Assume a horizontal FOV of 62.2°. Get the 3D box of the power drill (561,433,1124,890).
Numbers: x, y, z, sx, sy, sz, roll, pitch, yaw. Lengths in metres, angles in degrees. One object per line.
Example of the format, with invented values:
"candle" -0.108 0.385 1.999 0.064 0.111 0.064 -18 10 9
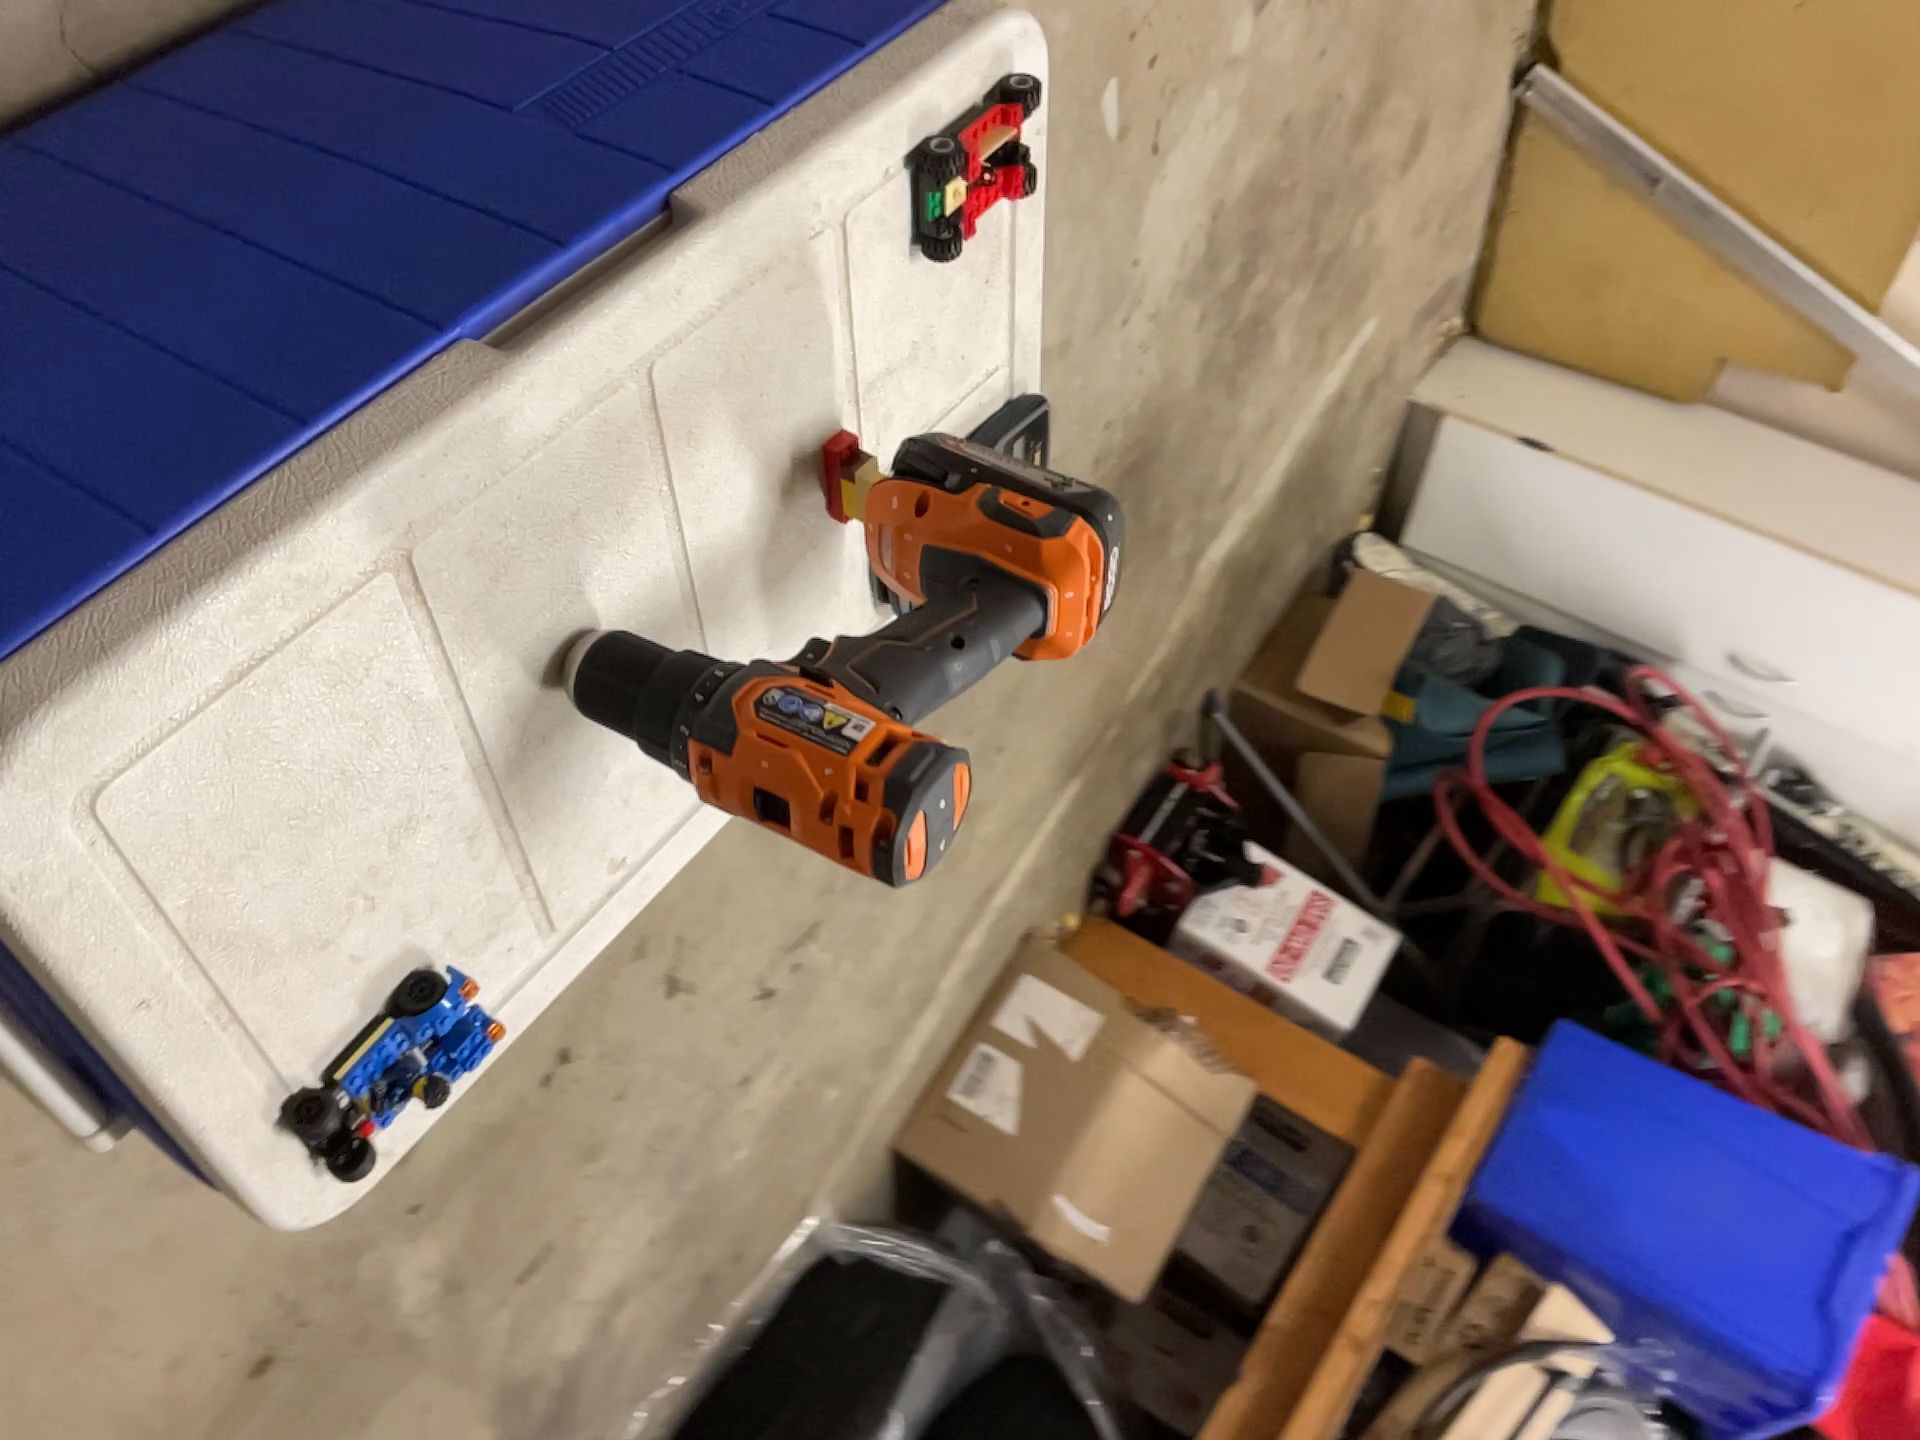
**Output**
"power drill" -0.048 -0.039 0.712 0.226 0.185 0.084 -51 154 -39
